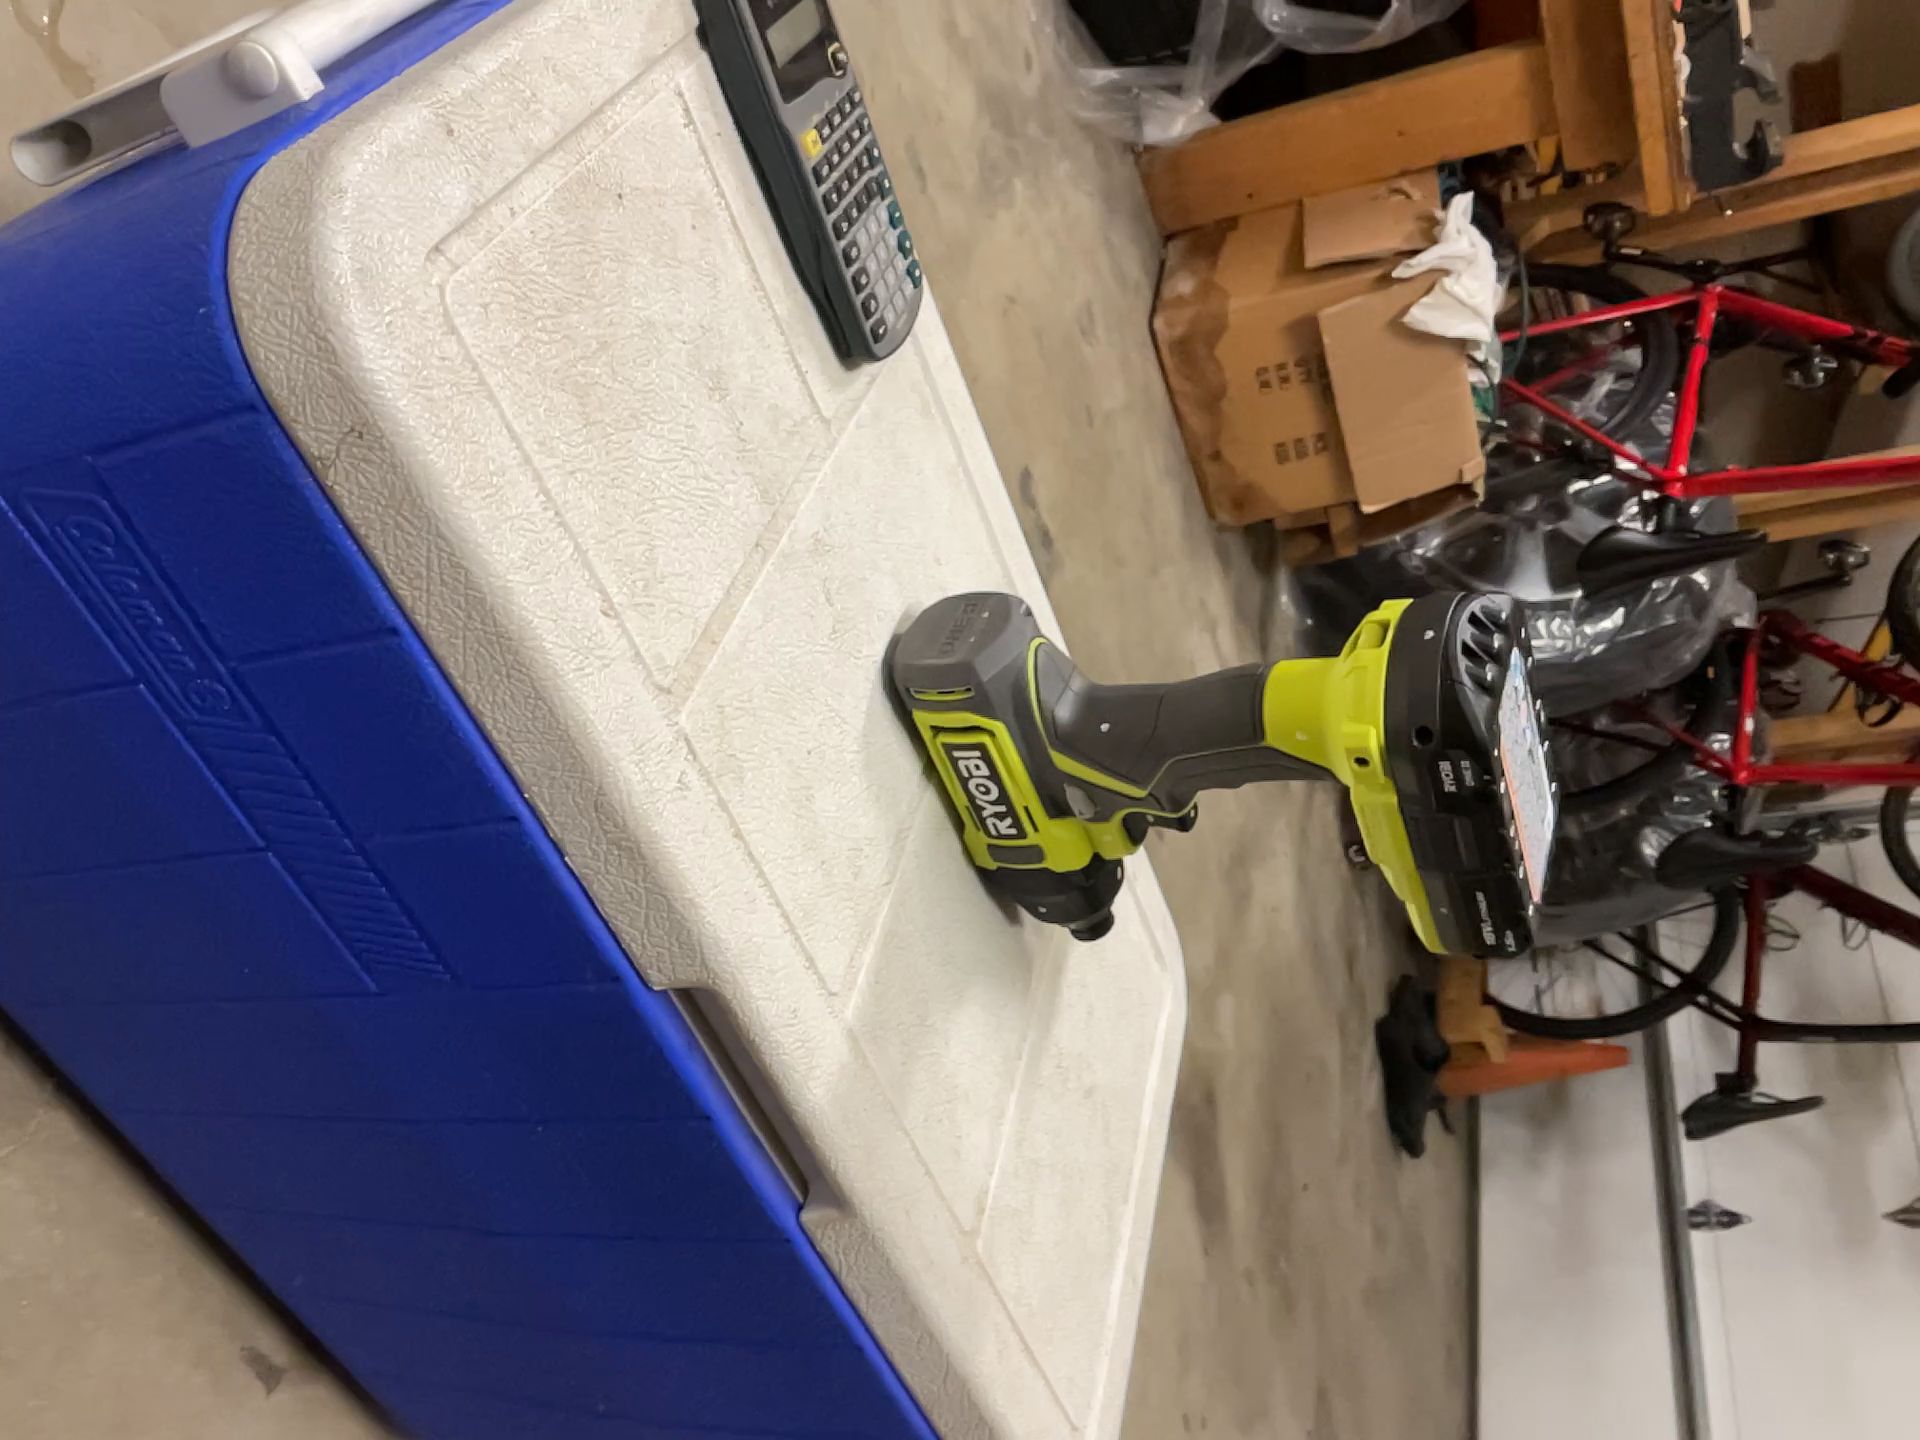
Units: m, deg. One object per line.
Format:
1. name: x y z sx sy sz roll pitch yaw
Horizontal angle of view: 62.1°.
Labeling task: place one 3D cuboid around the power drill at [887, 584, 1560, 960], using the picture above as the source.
1. power drill: 0.100 0.025 0.601 0.080 0.223 0.171 -61 138 -40
